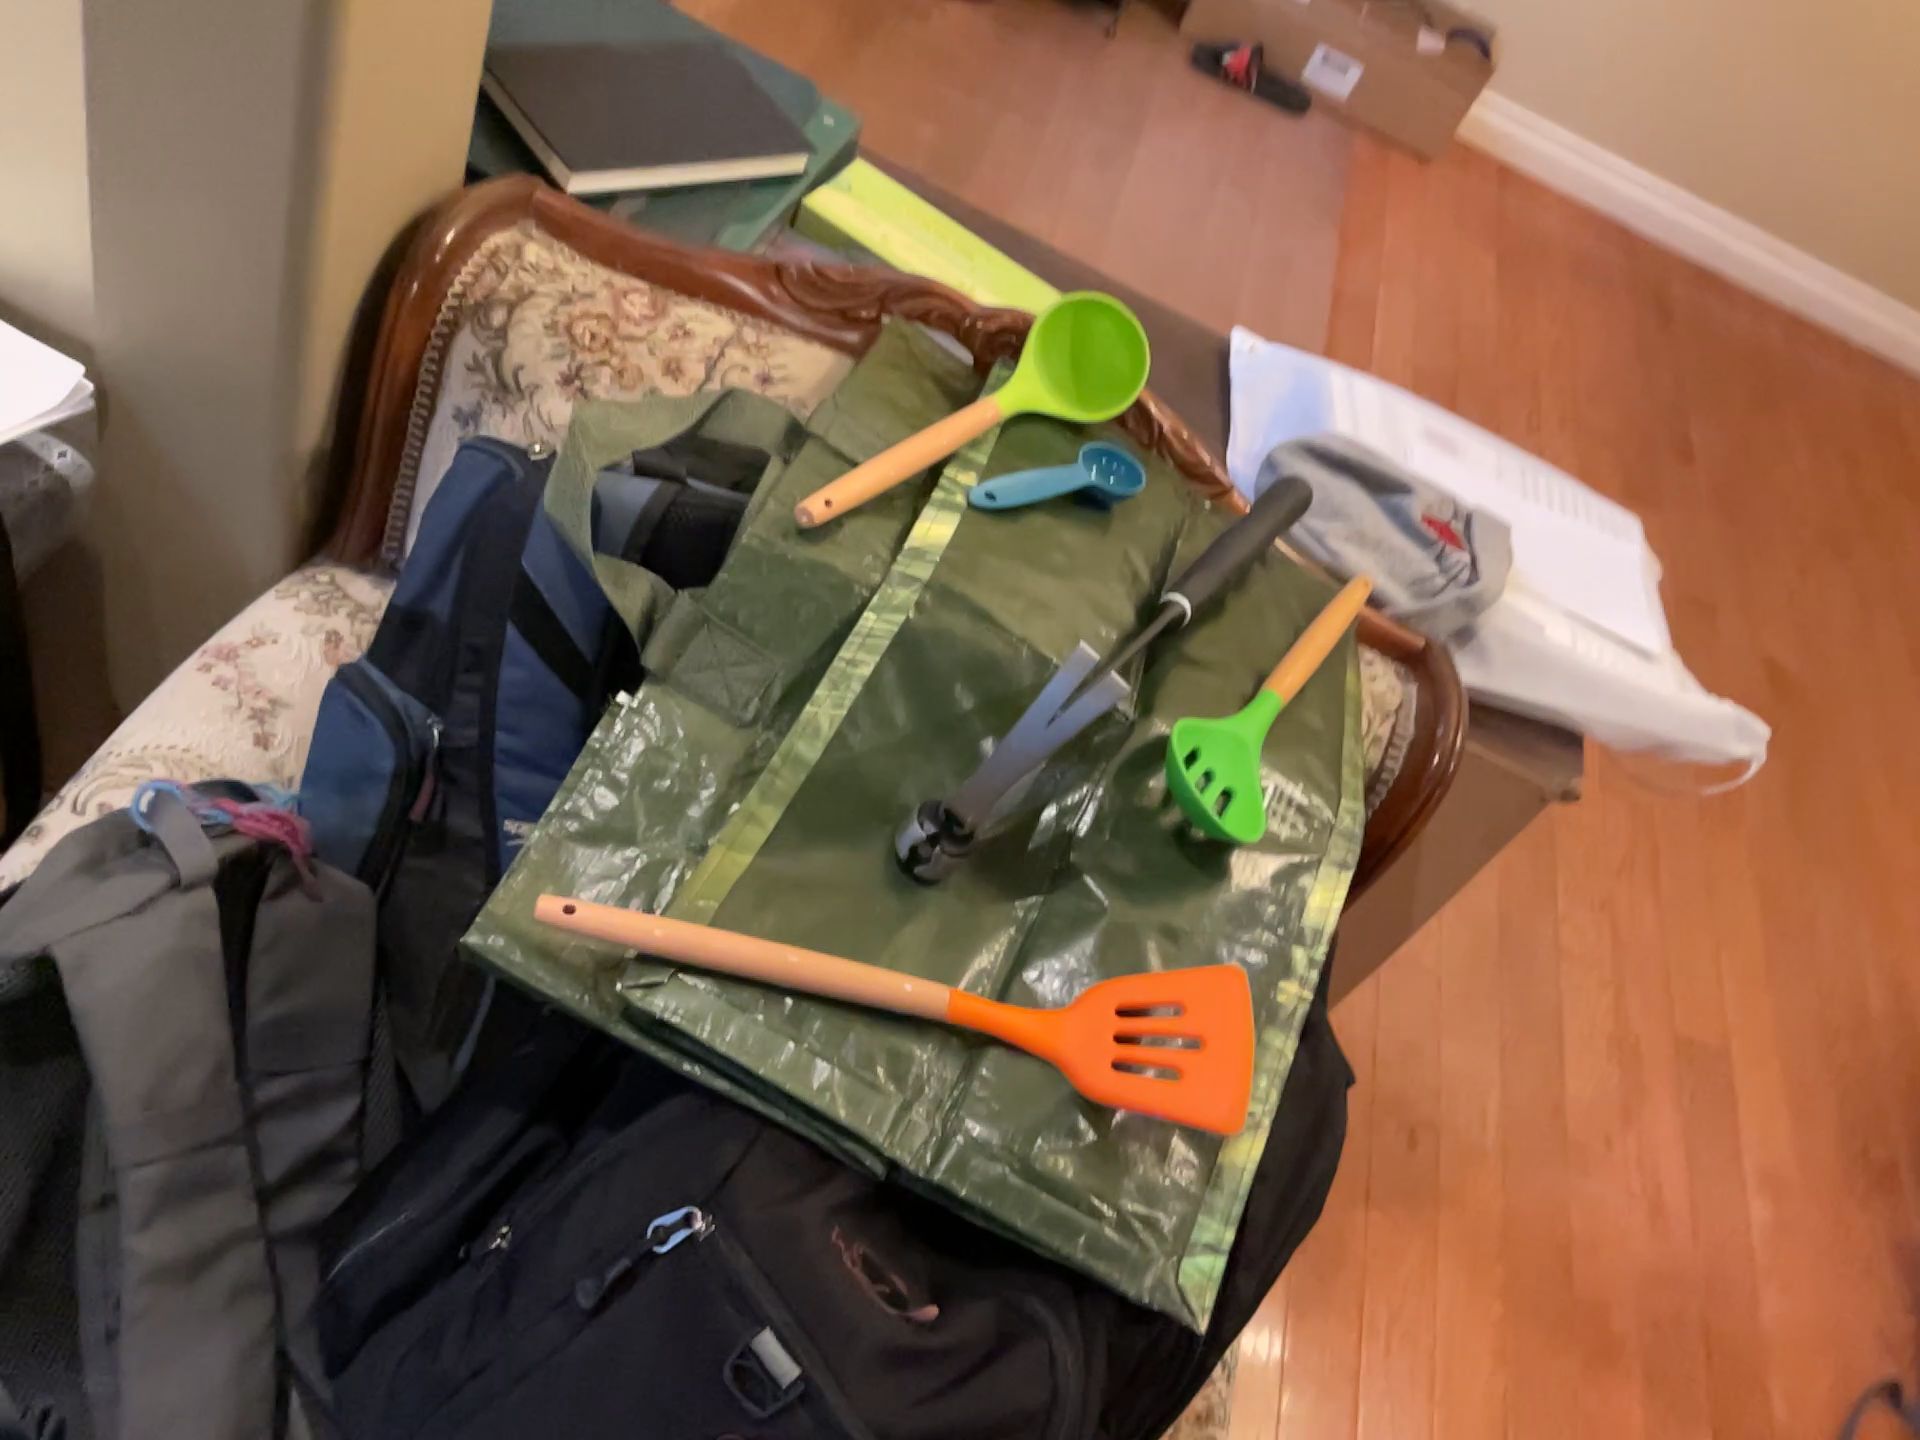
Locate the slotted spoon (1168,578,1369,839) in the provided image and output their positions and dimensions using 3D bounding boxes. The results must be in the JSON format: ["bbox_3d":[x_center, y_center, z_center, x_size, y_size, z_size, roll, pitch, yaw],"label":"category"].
[{"bbox_3d":[0.182,-0.019,0.886,0.070,0.031,0.313,50,39,-2],"label":"slotted spoon"}]

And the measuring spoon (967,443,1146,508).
[{"bbox_3d":[0.051,-0.129,0.895,0.128,0.021,0.042,-17,60,-36],"label":"measuring spoon"}]

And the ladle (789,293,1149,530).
[{"bbox_3d":[0.012,-0.169,0.881,0.320,0.062,0.078,-39,102,-48],"label":"ladle"}]

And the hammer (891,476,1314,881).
[{"bbox_3d":[0.111,-0.056,0.863,0.036,0.149,0.409,46,41,3],"label":"hammer"}]

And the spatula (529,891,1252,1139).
[{"bbox_3d":[-0.028,0.117,0.701,0.322,0.041,0.081,15,56,-9],"label":"spatula"}]
